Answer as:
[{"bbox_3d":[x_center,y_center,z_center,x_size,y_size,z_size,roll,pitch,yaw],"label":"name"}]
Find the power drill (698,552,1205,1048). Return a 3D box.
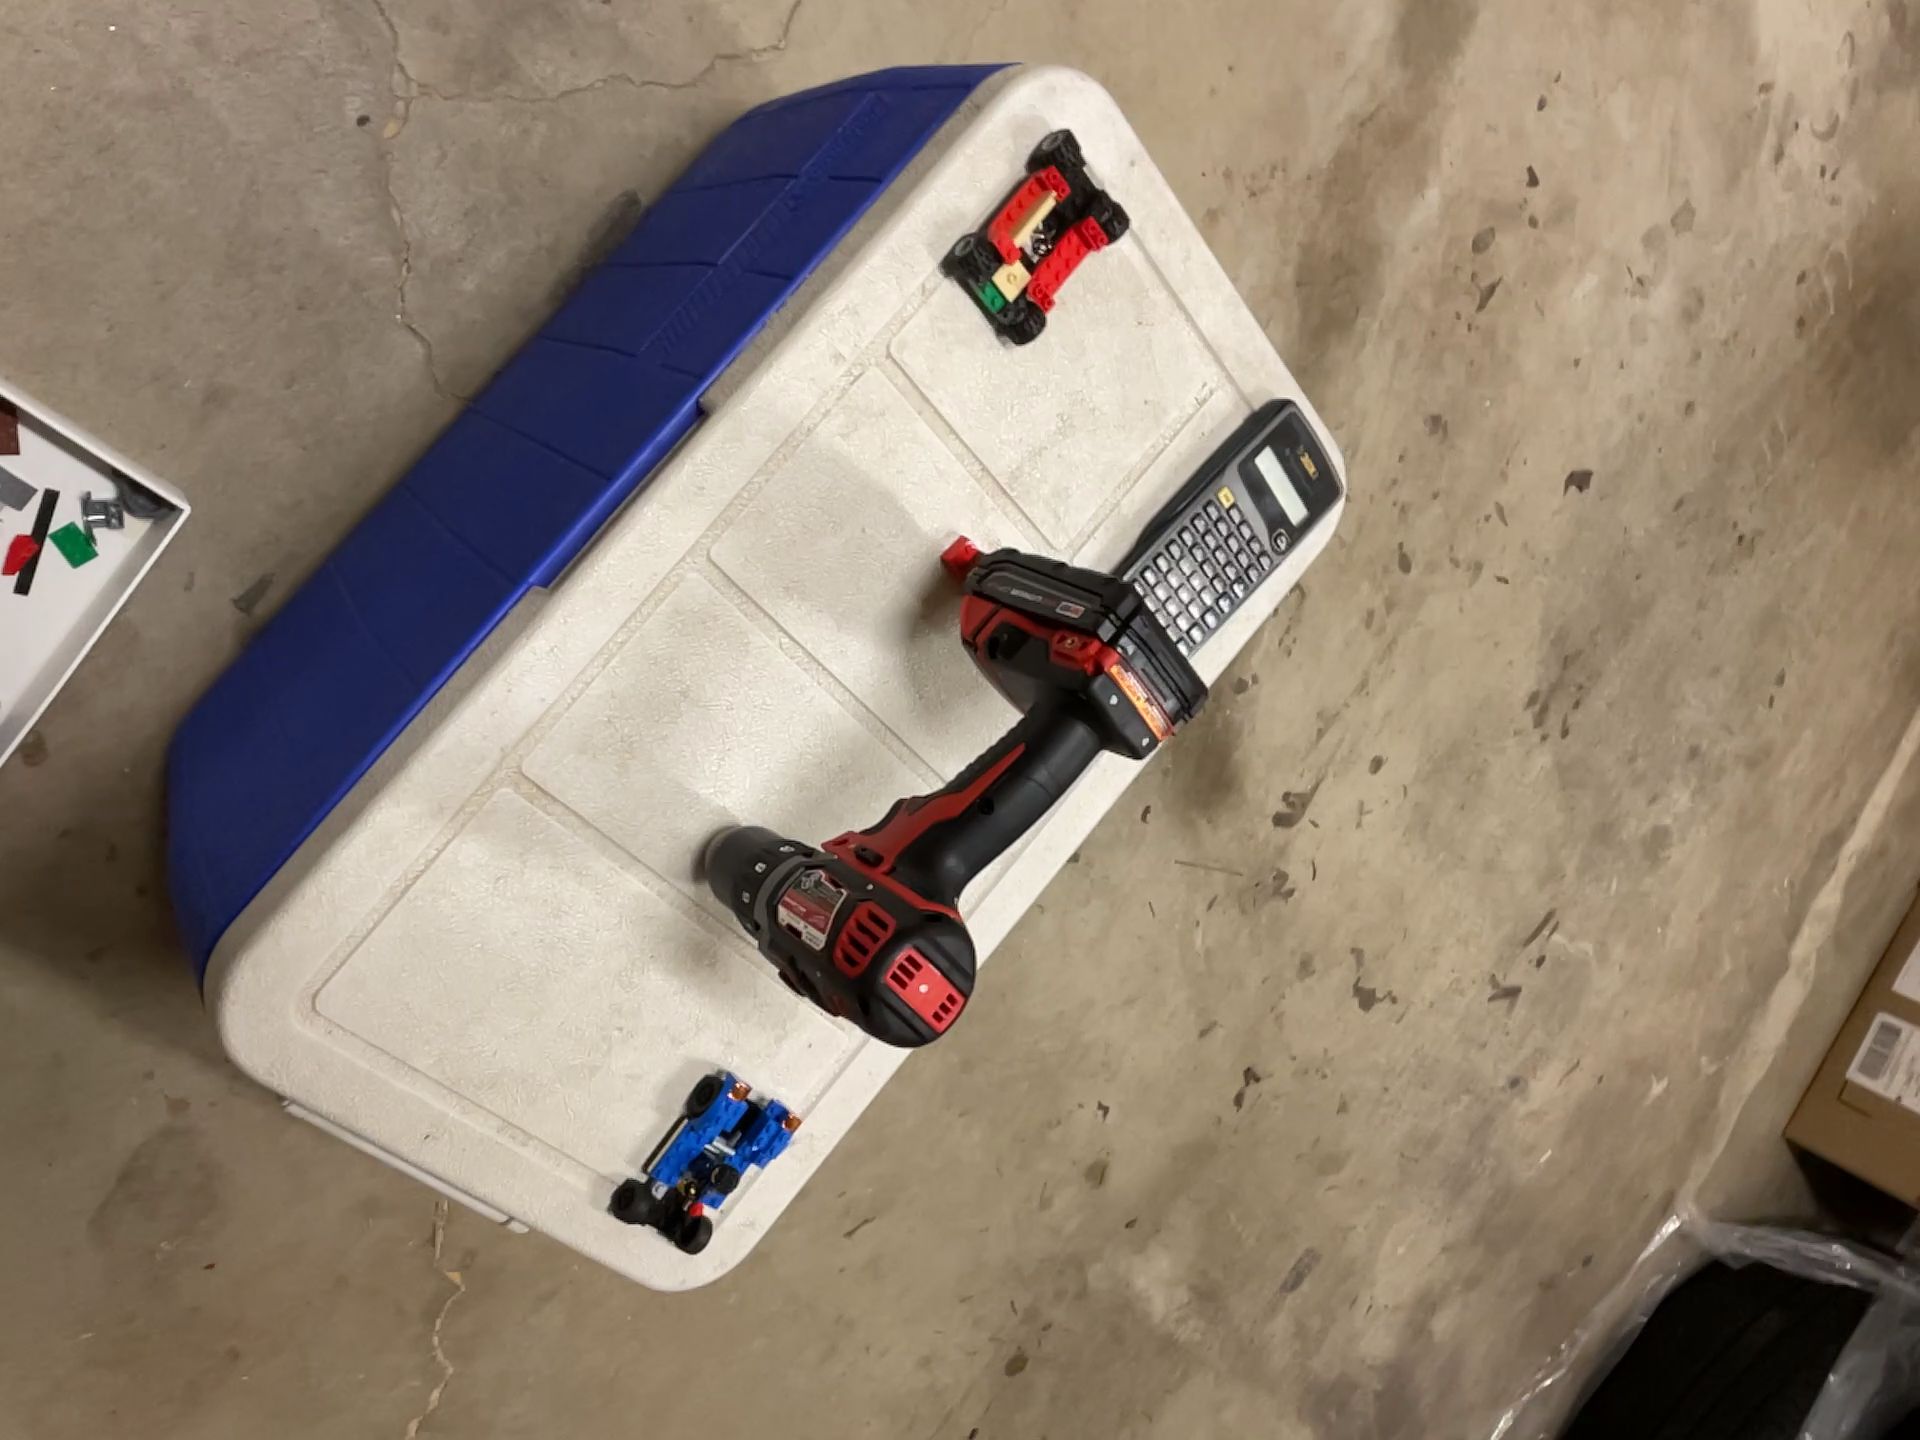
[{"bbox_3d":[-0.016,0.030,0.751,0.227,0.188,0.080,-50,127,-13],"label":"power drill"}]
